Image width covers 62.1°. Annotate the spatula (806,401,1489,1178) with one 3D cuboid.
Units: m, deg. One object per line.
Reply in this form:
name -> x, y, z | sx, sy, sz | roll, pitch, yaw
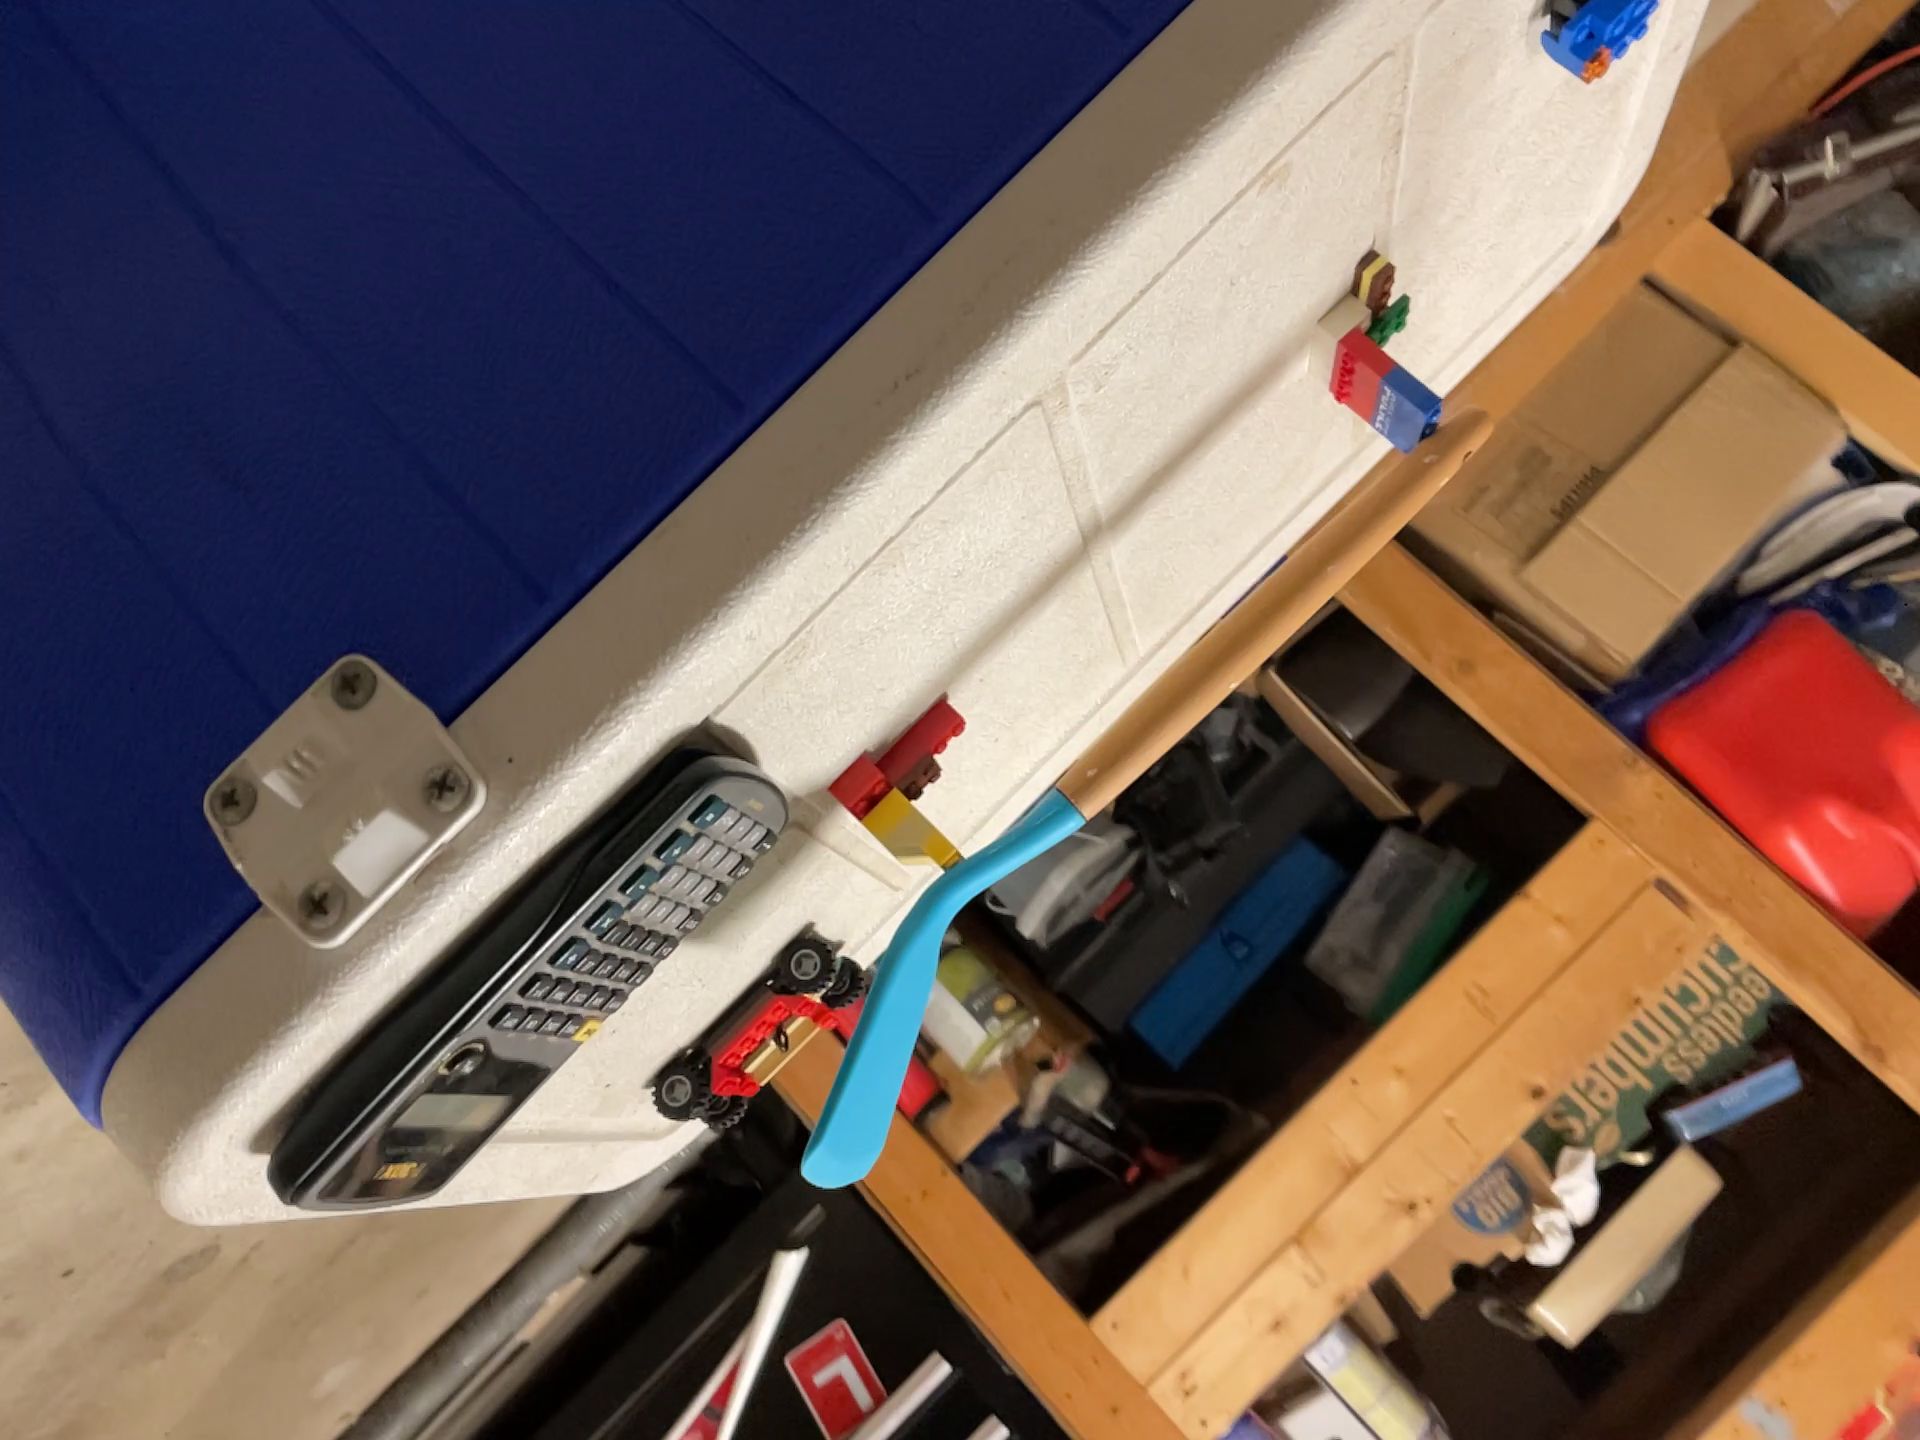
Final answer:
spatula -> 0.062, 0.015, 0.505 | 0.317, 0.044, 0.082 | -44, 160, -5
